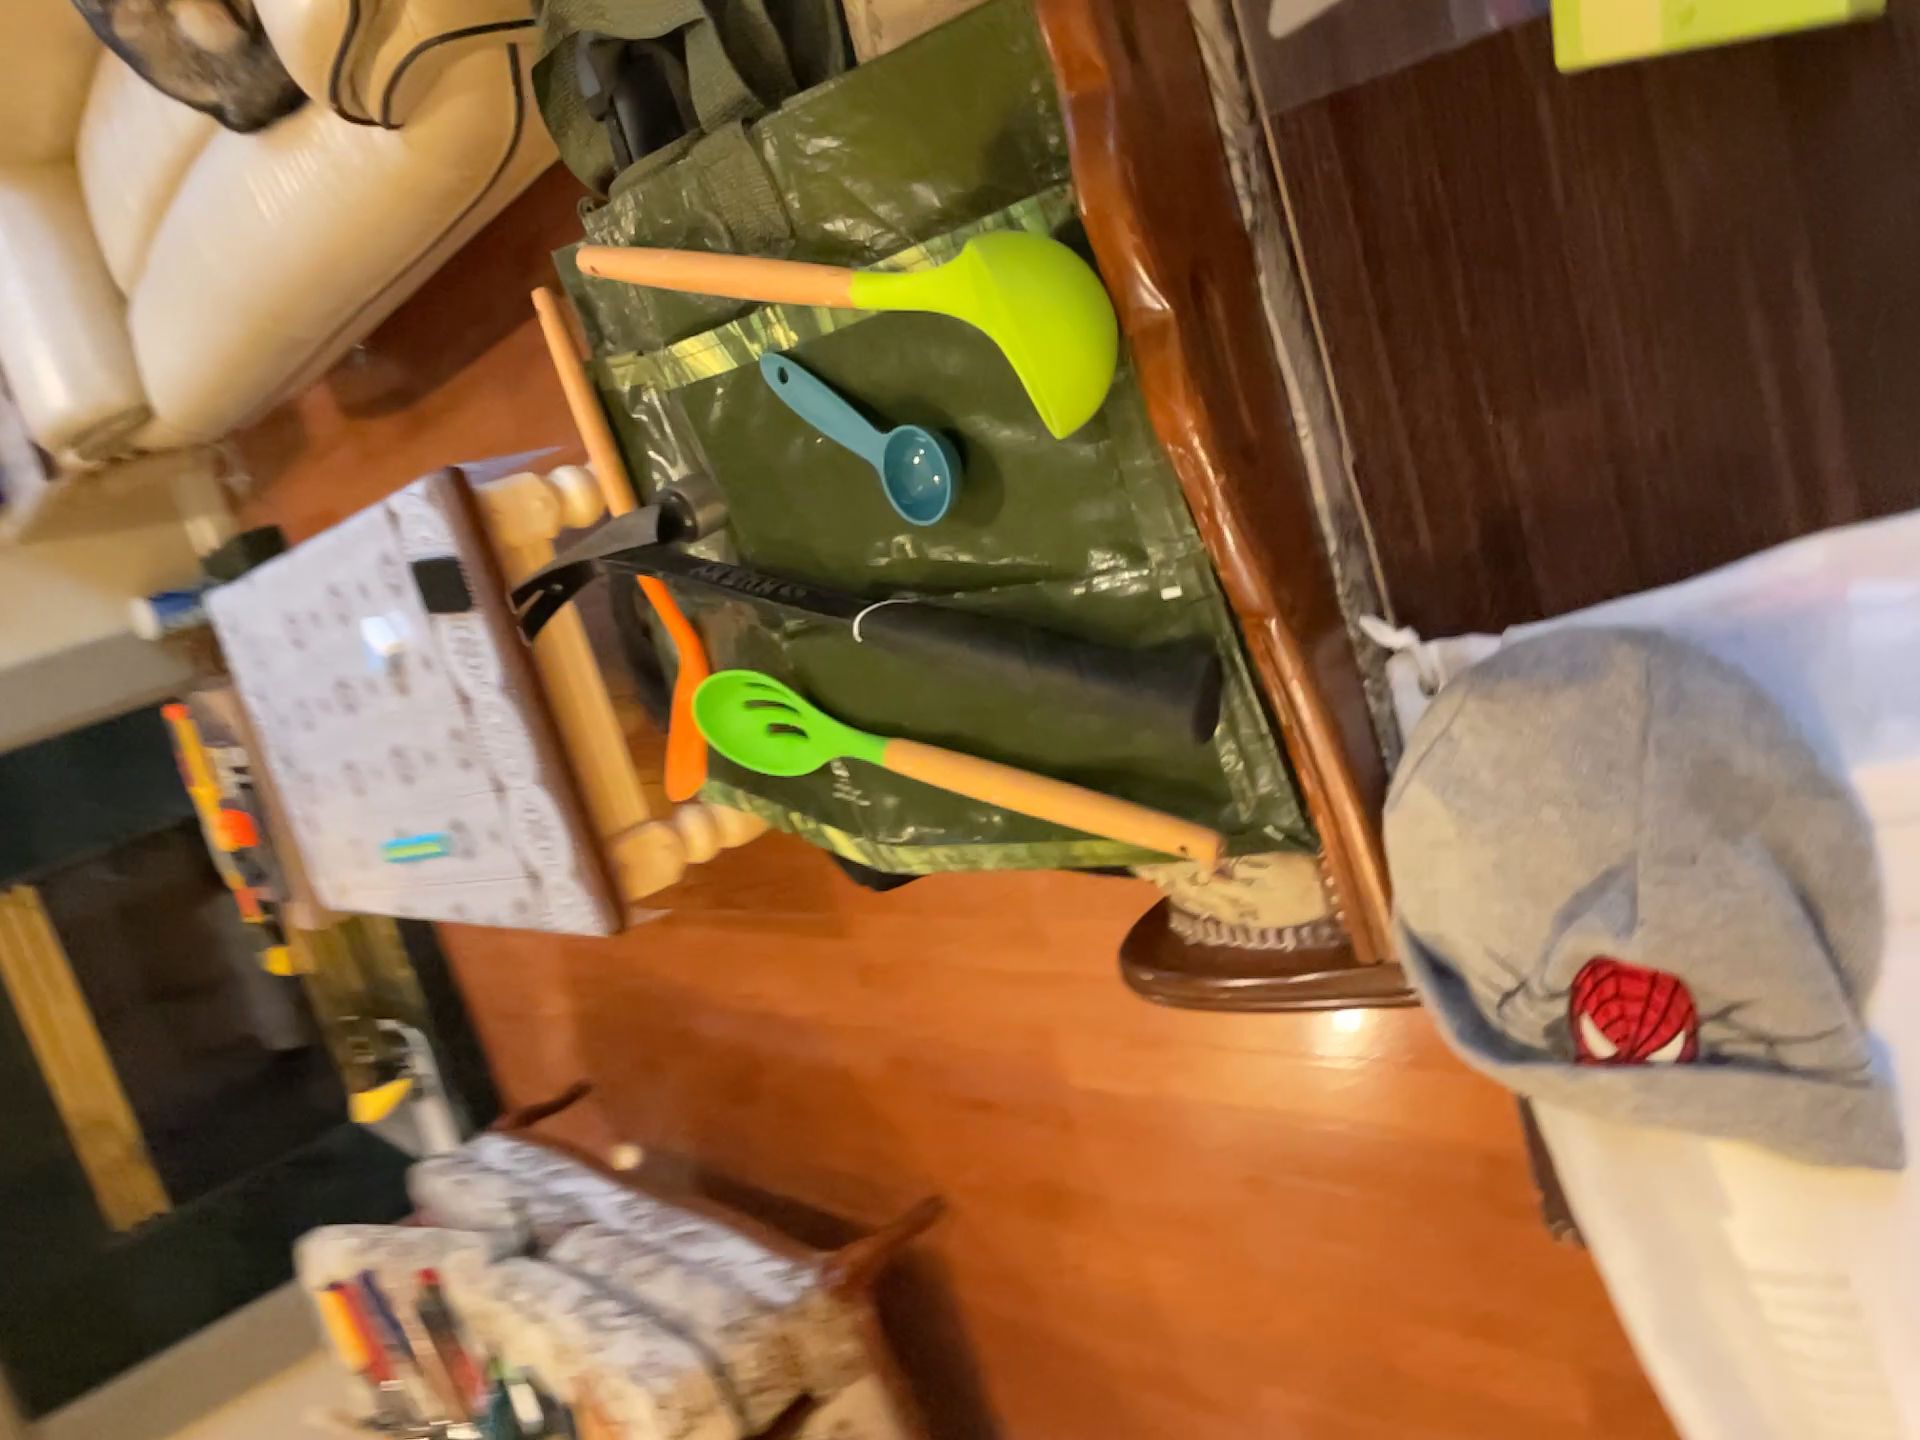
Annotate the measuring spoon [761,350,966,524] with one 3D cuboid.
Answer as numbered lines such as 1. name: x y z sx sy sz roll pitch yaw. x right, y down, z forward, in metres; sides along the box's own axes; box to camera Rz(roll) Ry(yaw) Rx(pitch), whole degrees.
1. measuring spoon: -0.040 -0.129 0.685 0.129 0.021 0.042 40 135 29

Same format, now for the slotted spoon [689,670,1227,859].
1. slotted spoon: -0.012 0.023 0.757 0.314 0.031 0.070 14 135 37

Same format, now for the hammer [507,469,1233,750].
1. hammer: -0.051 -0.049 0.743 0.409 0.149 0.036 17 131 39

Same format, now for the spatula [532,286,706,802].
1. spatula: -0.206 -0.109 0.962 0.081 0.041 0.322 -22 88 62

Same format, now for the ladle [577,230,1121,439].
1. ladle: -0.066 -0.173 0.659 0.320 0.062 0.078 18 149 38
